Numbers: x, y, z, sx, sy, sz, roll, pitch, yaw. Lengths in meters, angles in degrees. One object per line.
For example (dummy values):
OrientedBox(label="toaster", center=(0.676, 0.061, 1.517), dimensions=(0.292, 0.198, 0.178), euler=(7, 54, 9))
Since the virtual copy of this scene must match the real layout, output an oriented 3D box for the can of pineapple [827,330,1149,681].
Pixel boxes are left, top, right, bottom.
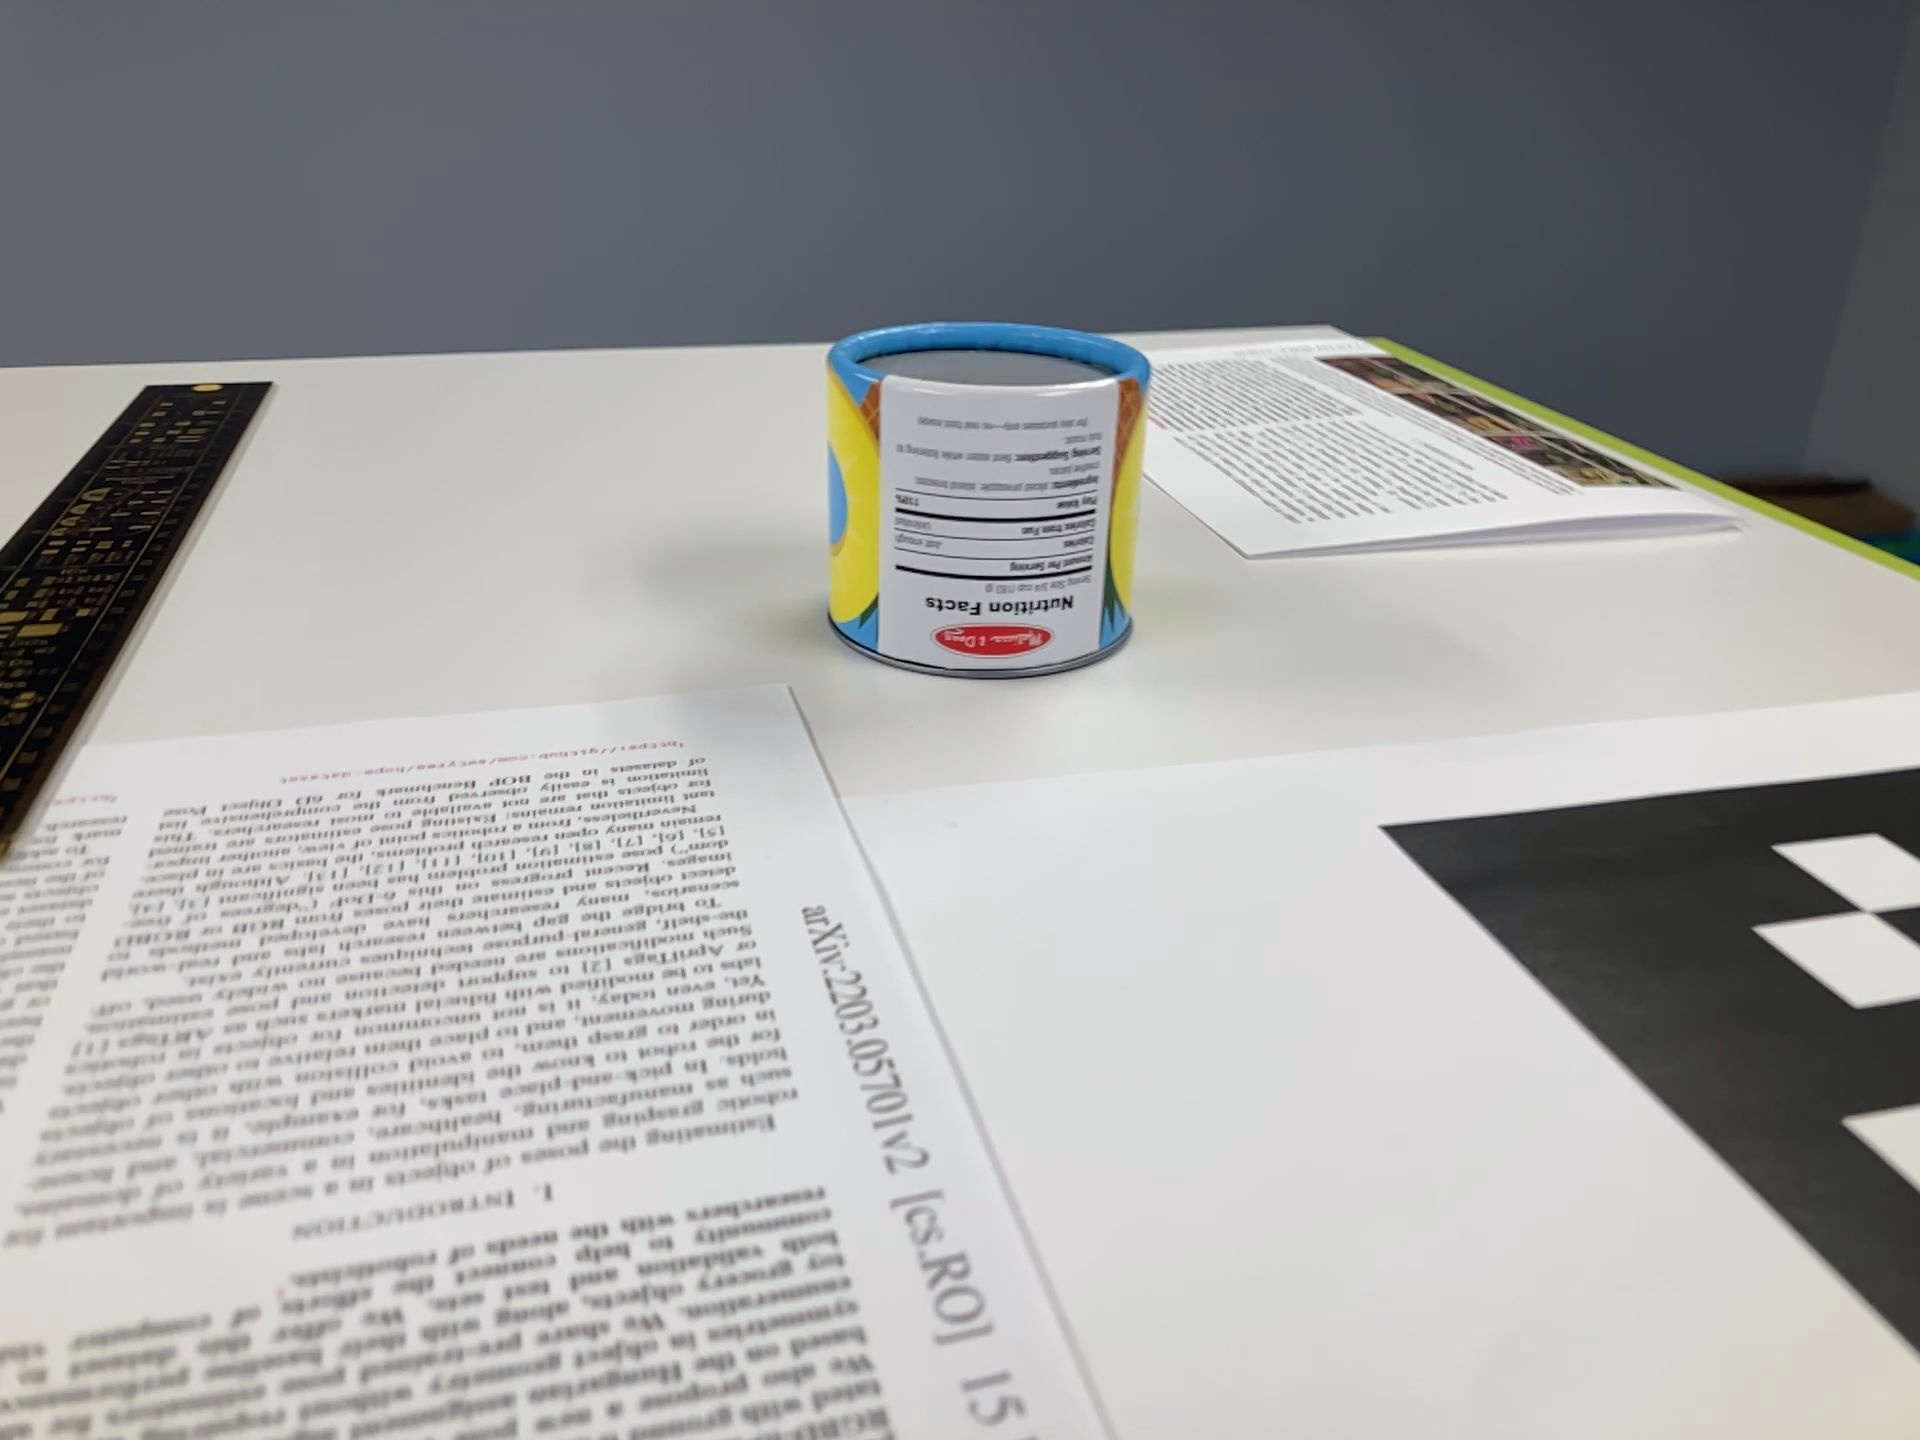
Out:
OrientedBox(label="can of pineapple", center=(0.005, -0.048, 0.334), dimensions=(0.071, 0.058, 0.071), euler=(2, 24, -1))
